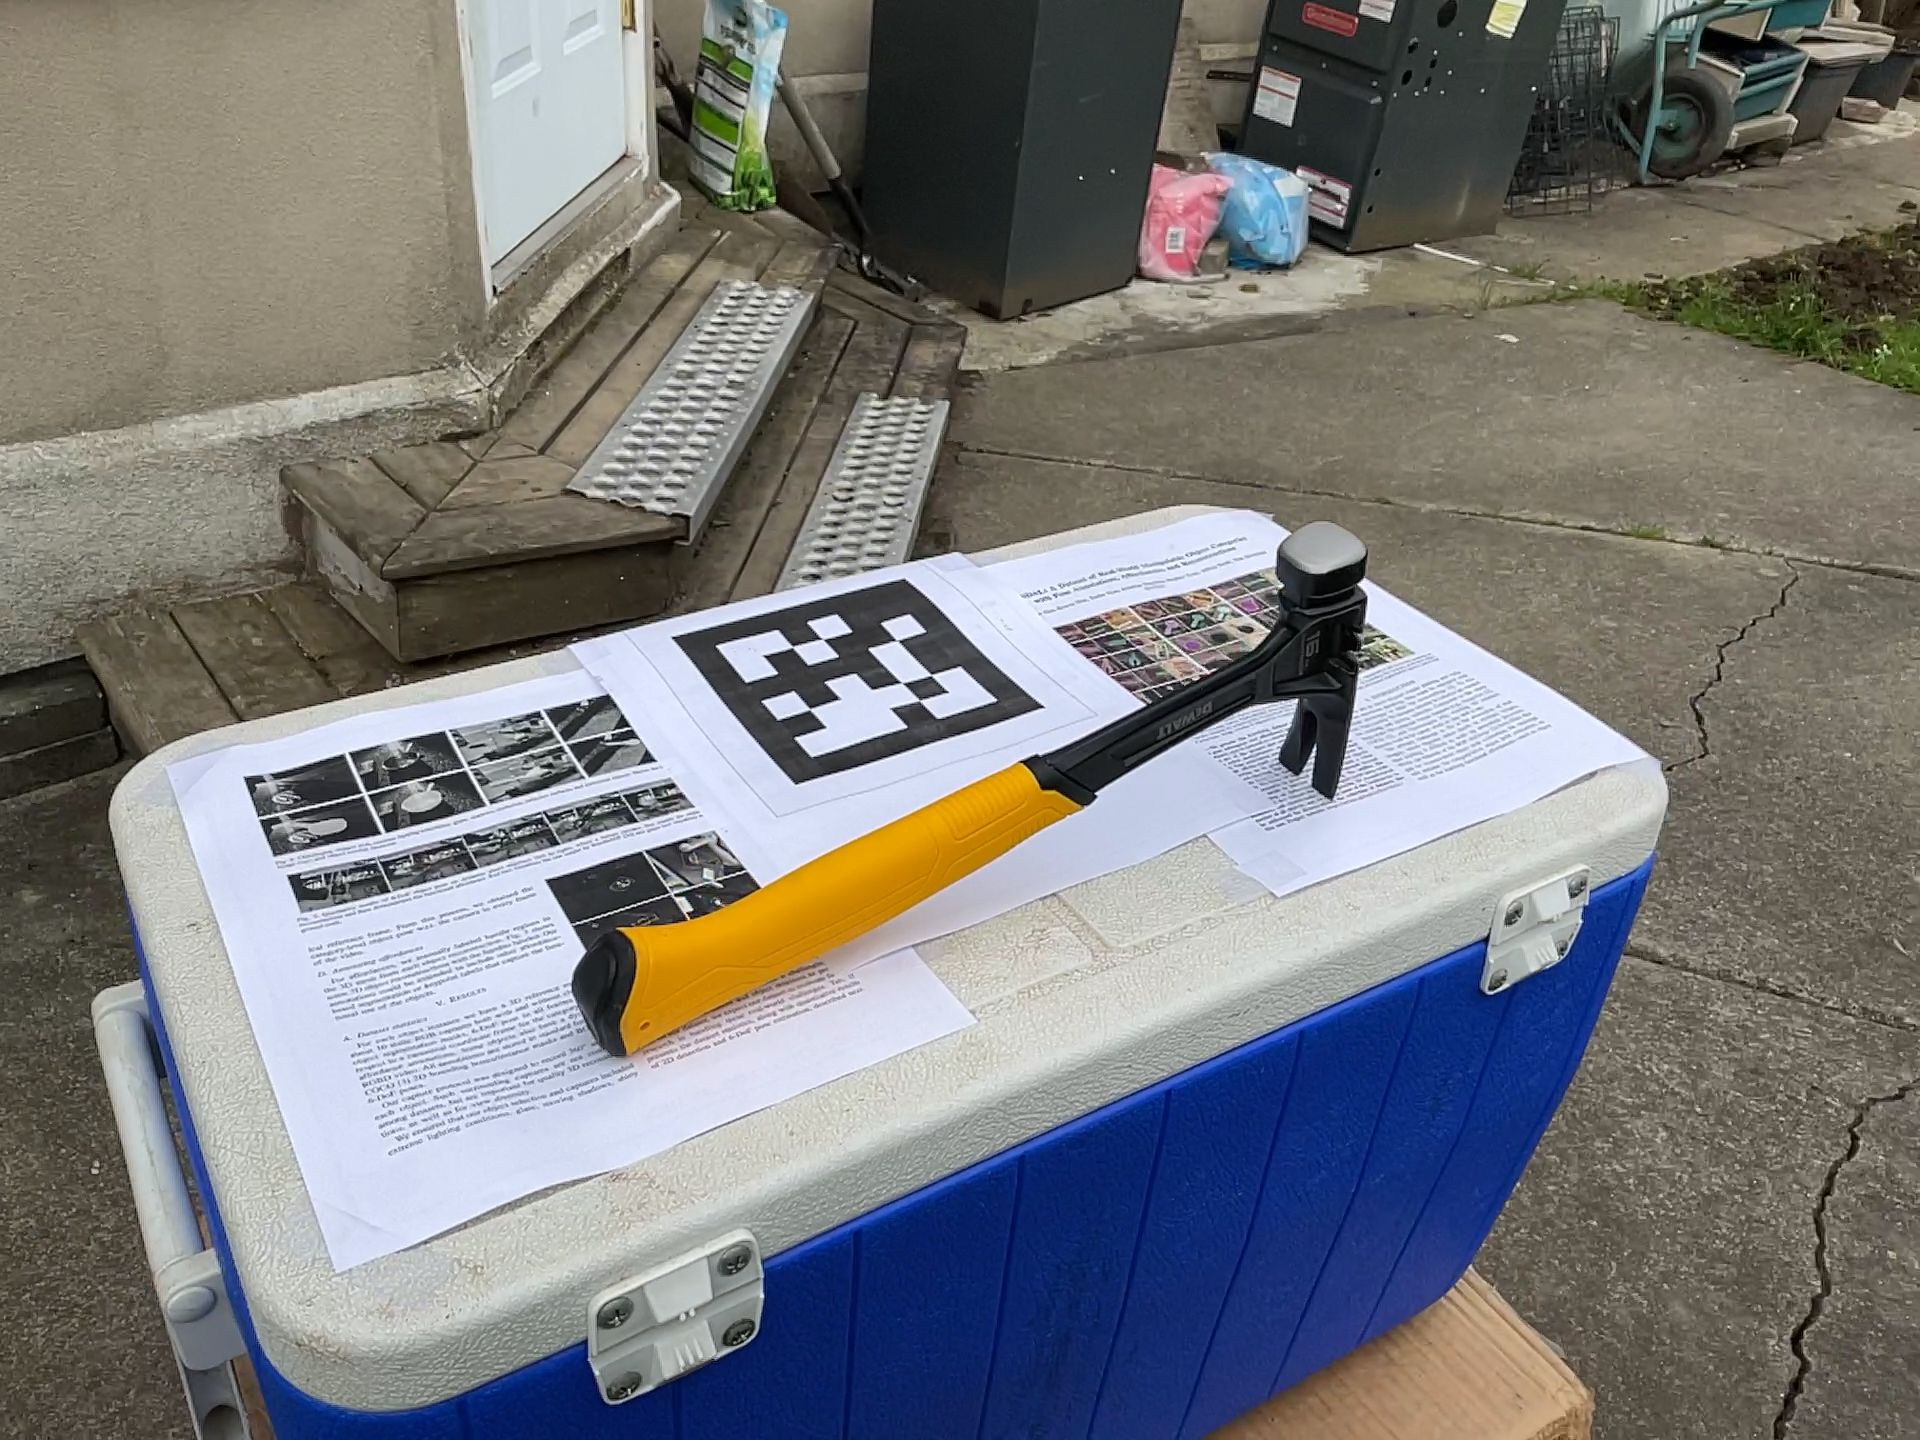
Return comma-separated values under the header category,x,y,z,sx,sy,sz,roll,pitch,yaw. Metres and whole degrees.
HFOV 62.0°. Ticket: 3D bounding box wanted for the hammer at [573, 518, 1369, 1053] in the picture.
category,x,y,z,sx,sy,sz,roll,pitch,yaw
hammer,0.018,0.037,0.600,0.337,0.127,0.034,-25,43,-22
